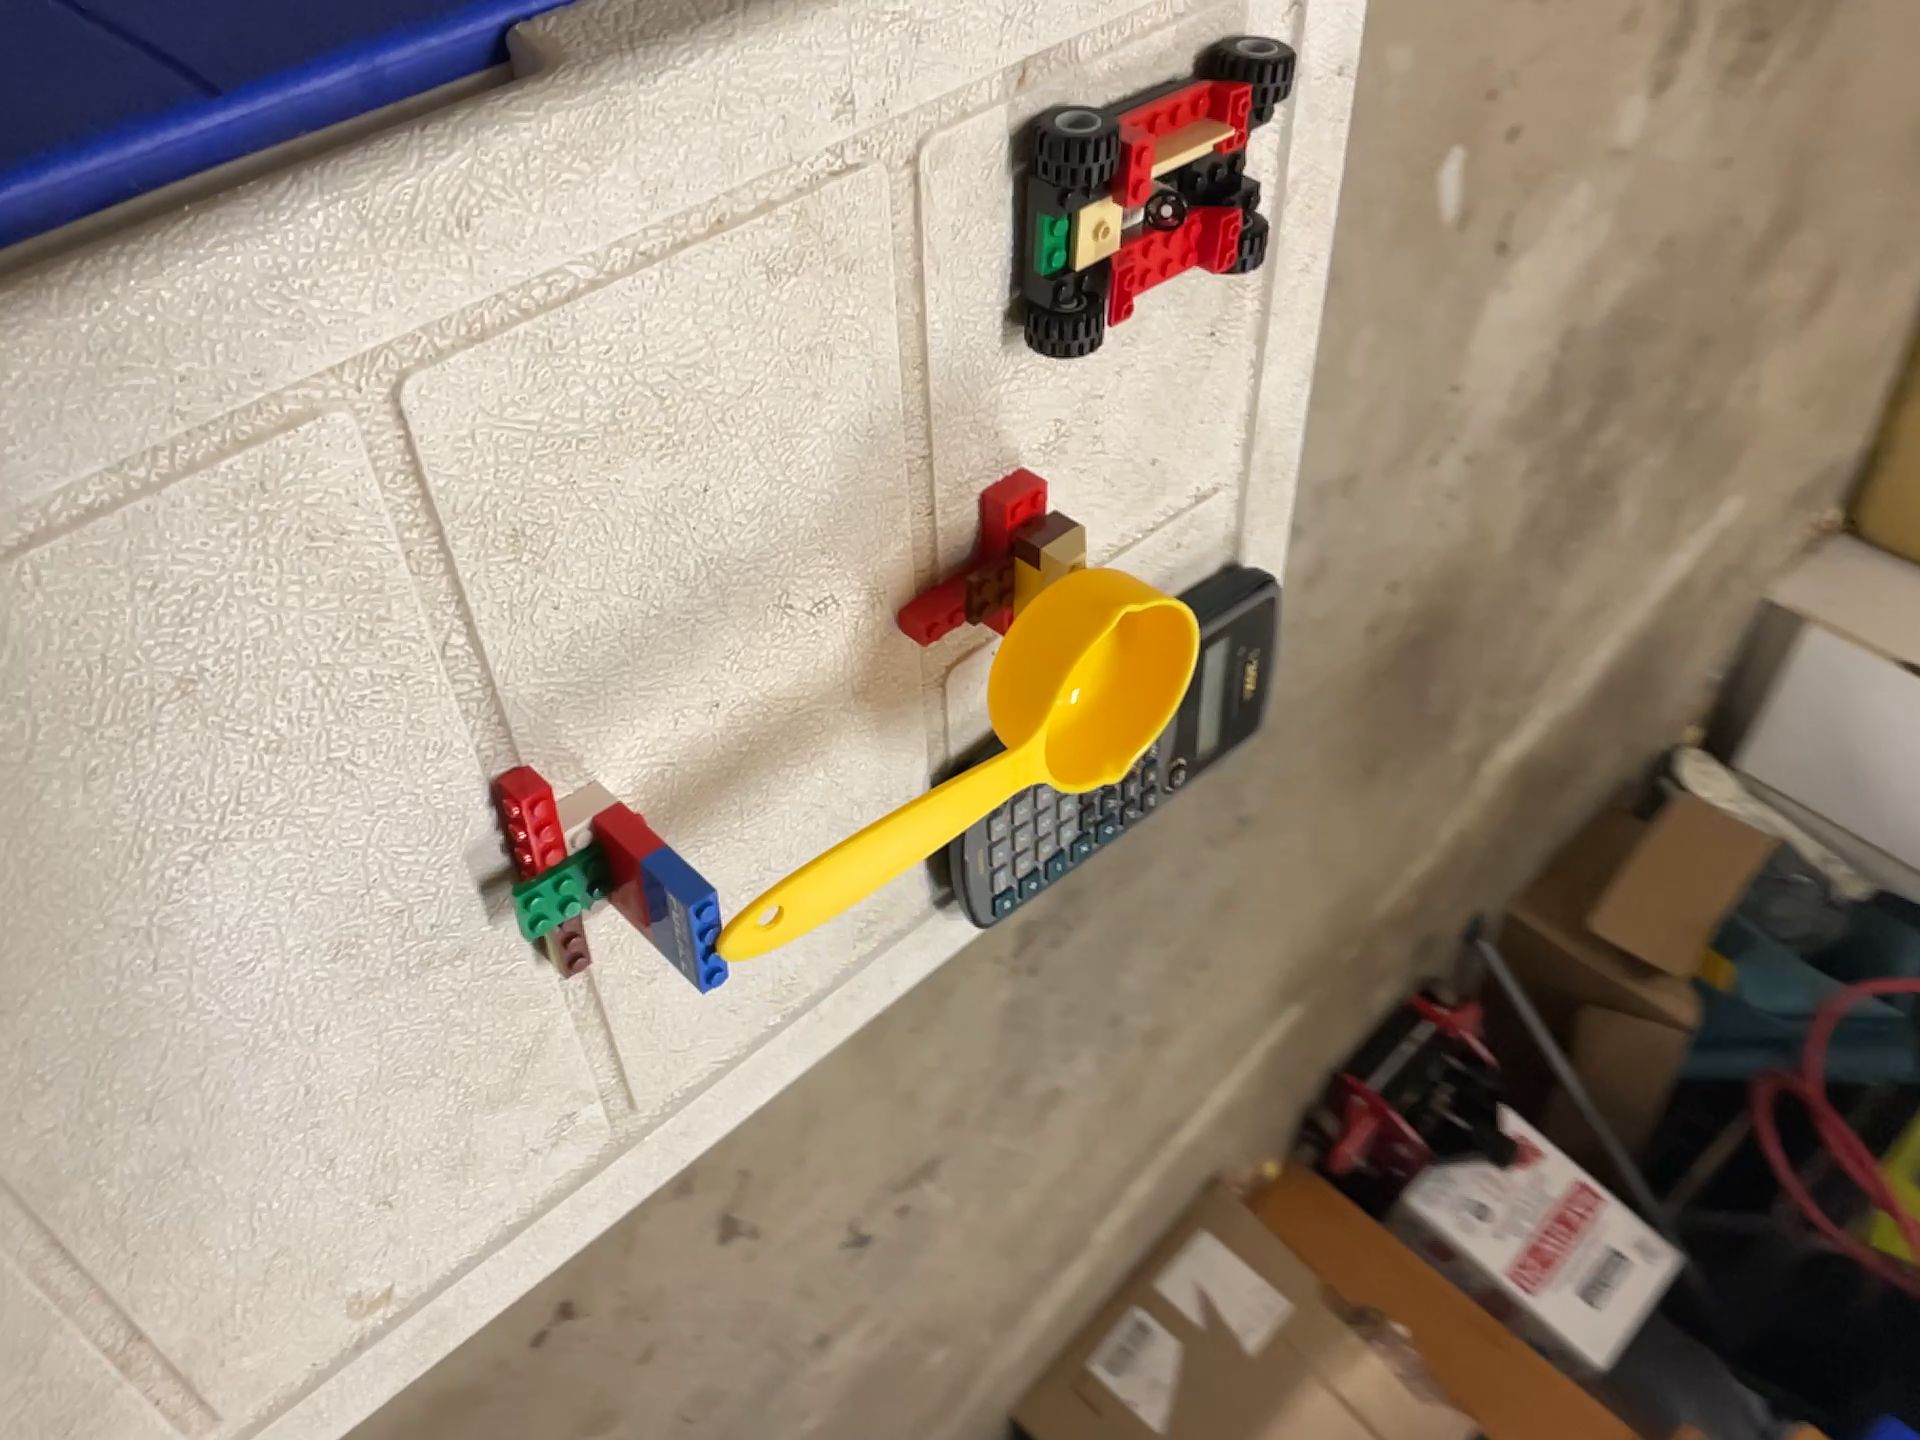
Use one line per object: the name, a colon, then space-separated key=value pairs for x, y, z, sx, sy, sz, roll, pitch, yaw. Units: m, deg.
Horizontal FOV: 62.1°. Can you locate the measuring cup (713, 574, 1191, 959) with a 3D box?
measuring cup: x=-0.004 y=0.011 z=0.413 sx=0.156 sy=0.029 sz=0.062 roll=-32 pitch=142 yaw=-25
